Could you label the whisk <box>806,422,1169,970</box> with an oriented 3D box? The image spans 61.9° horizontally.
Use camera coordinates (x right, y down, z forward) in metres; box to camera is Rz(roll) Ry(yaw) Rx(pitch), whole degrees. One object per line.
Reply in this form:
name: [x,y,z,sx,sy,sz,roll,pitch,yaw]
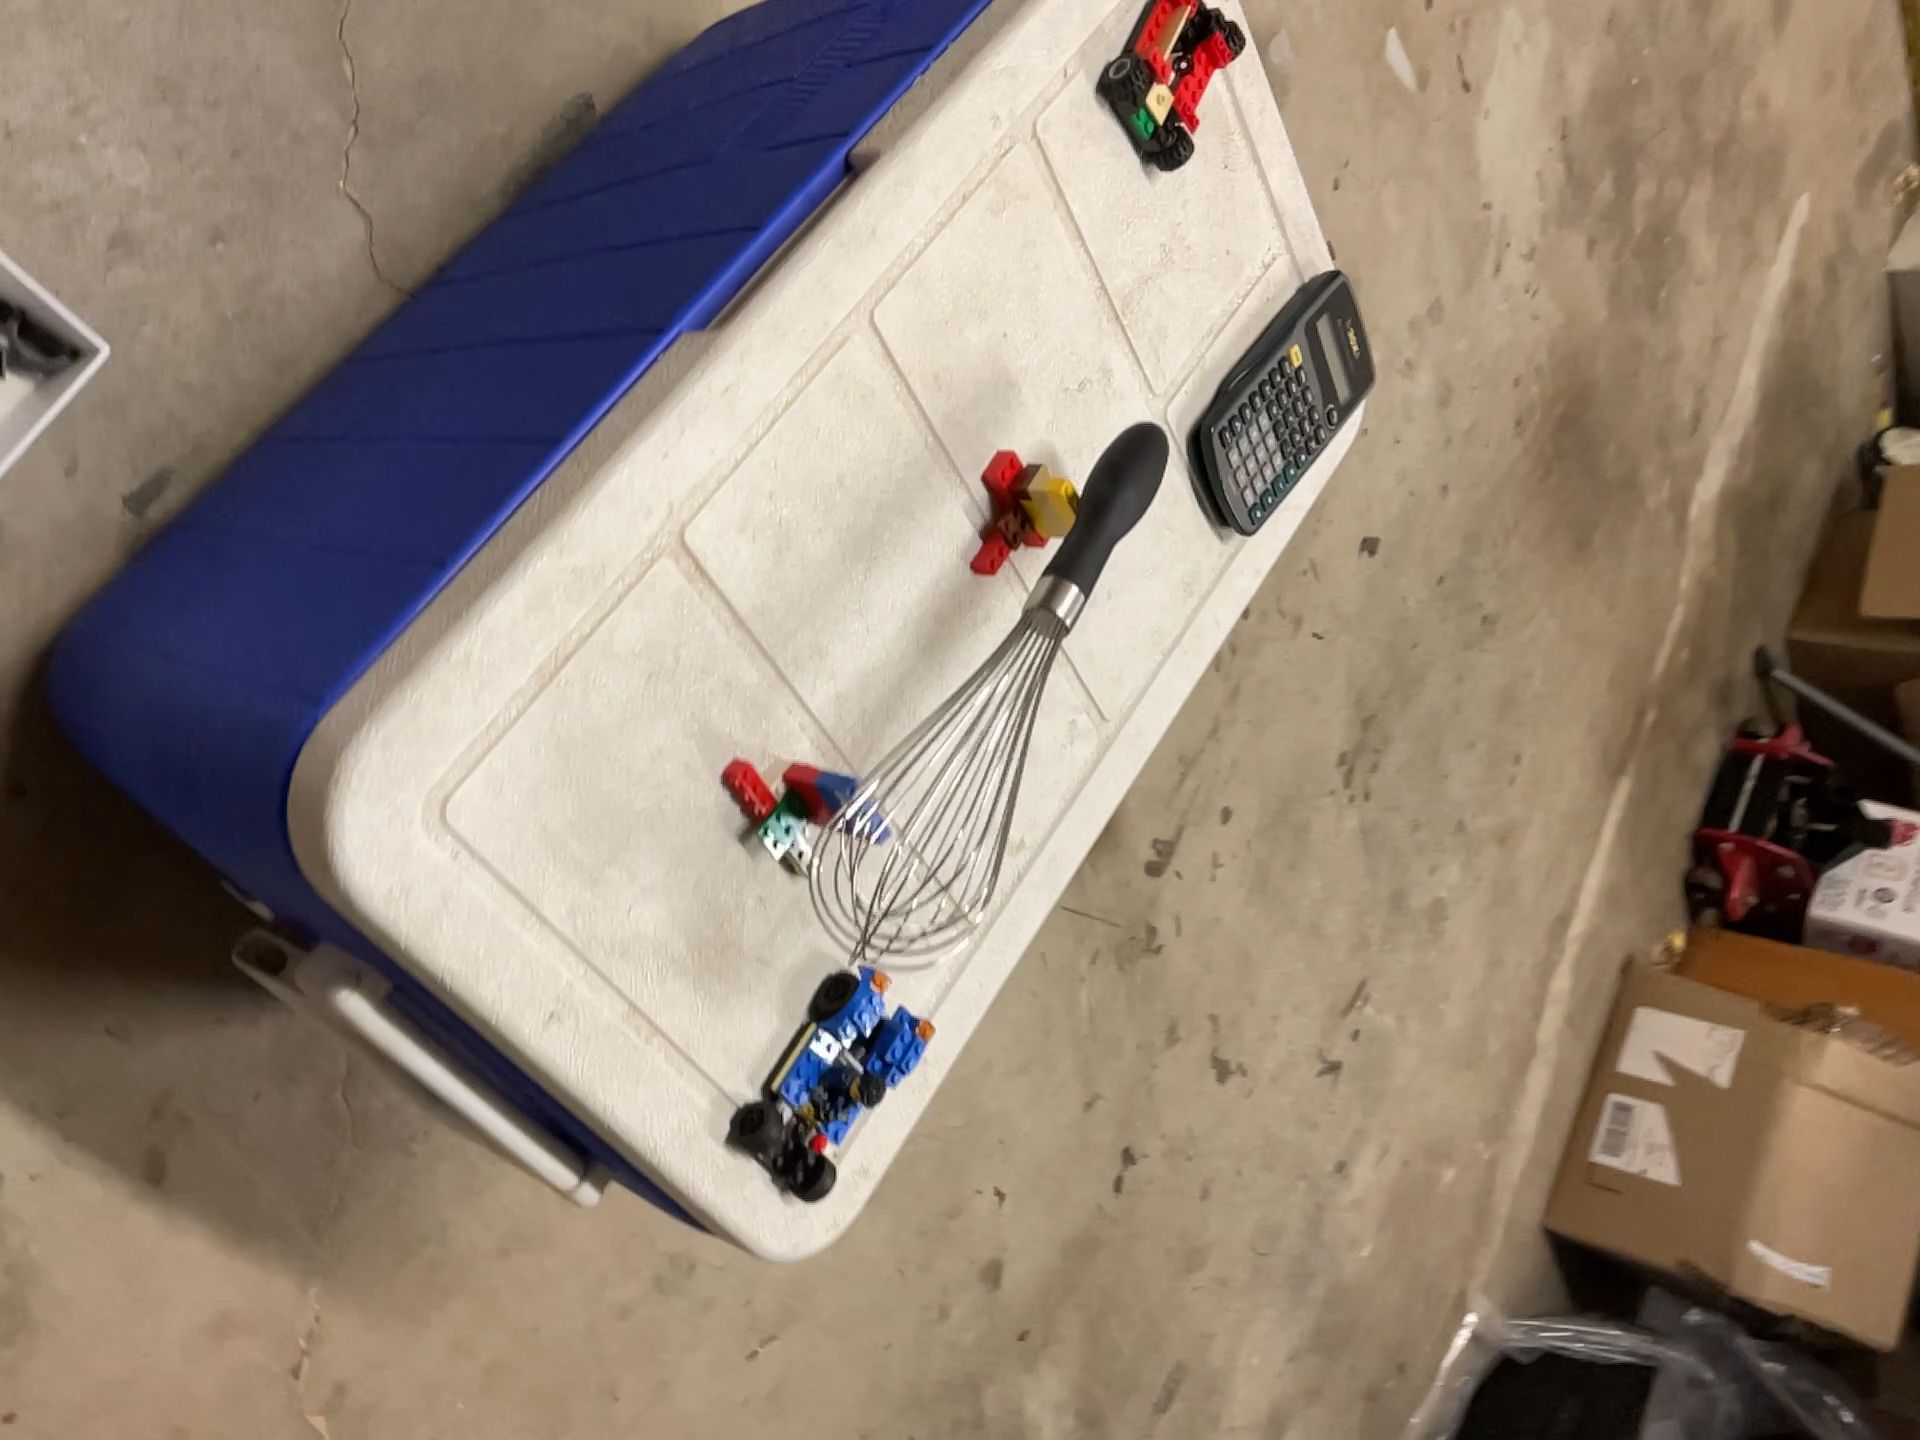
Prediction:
whisk: [0.024,-0.022,0.642,0.070,0.070,0.285,51,55,-34]
